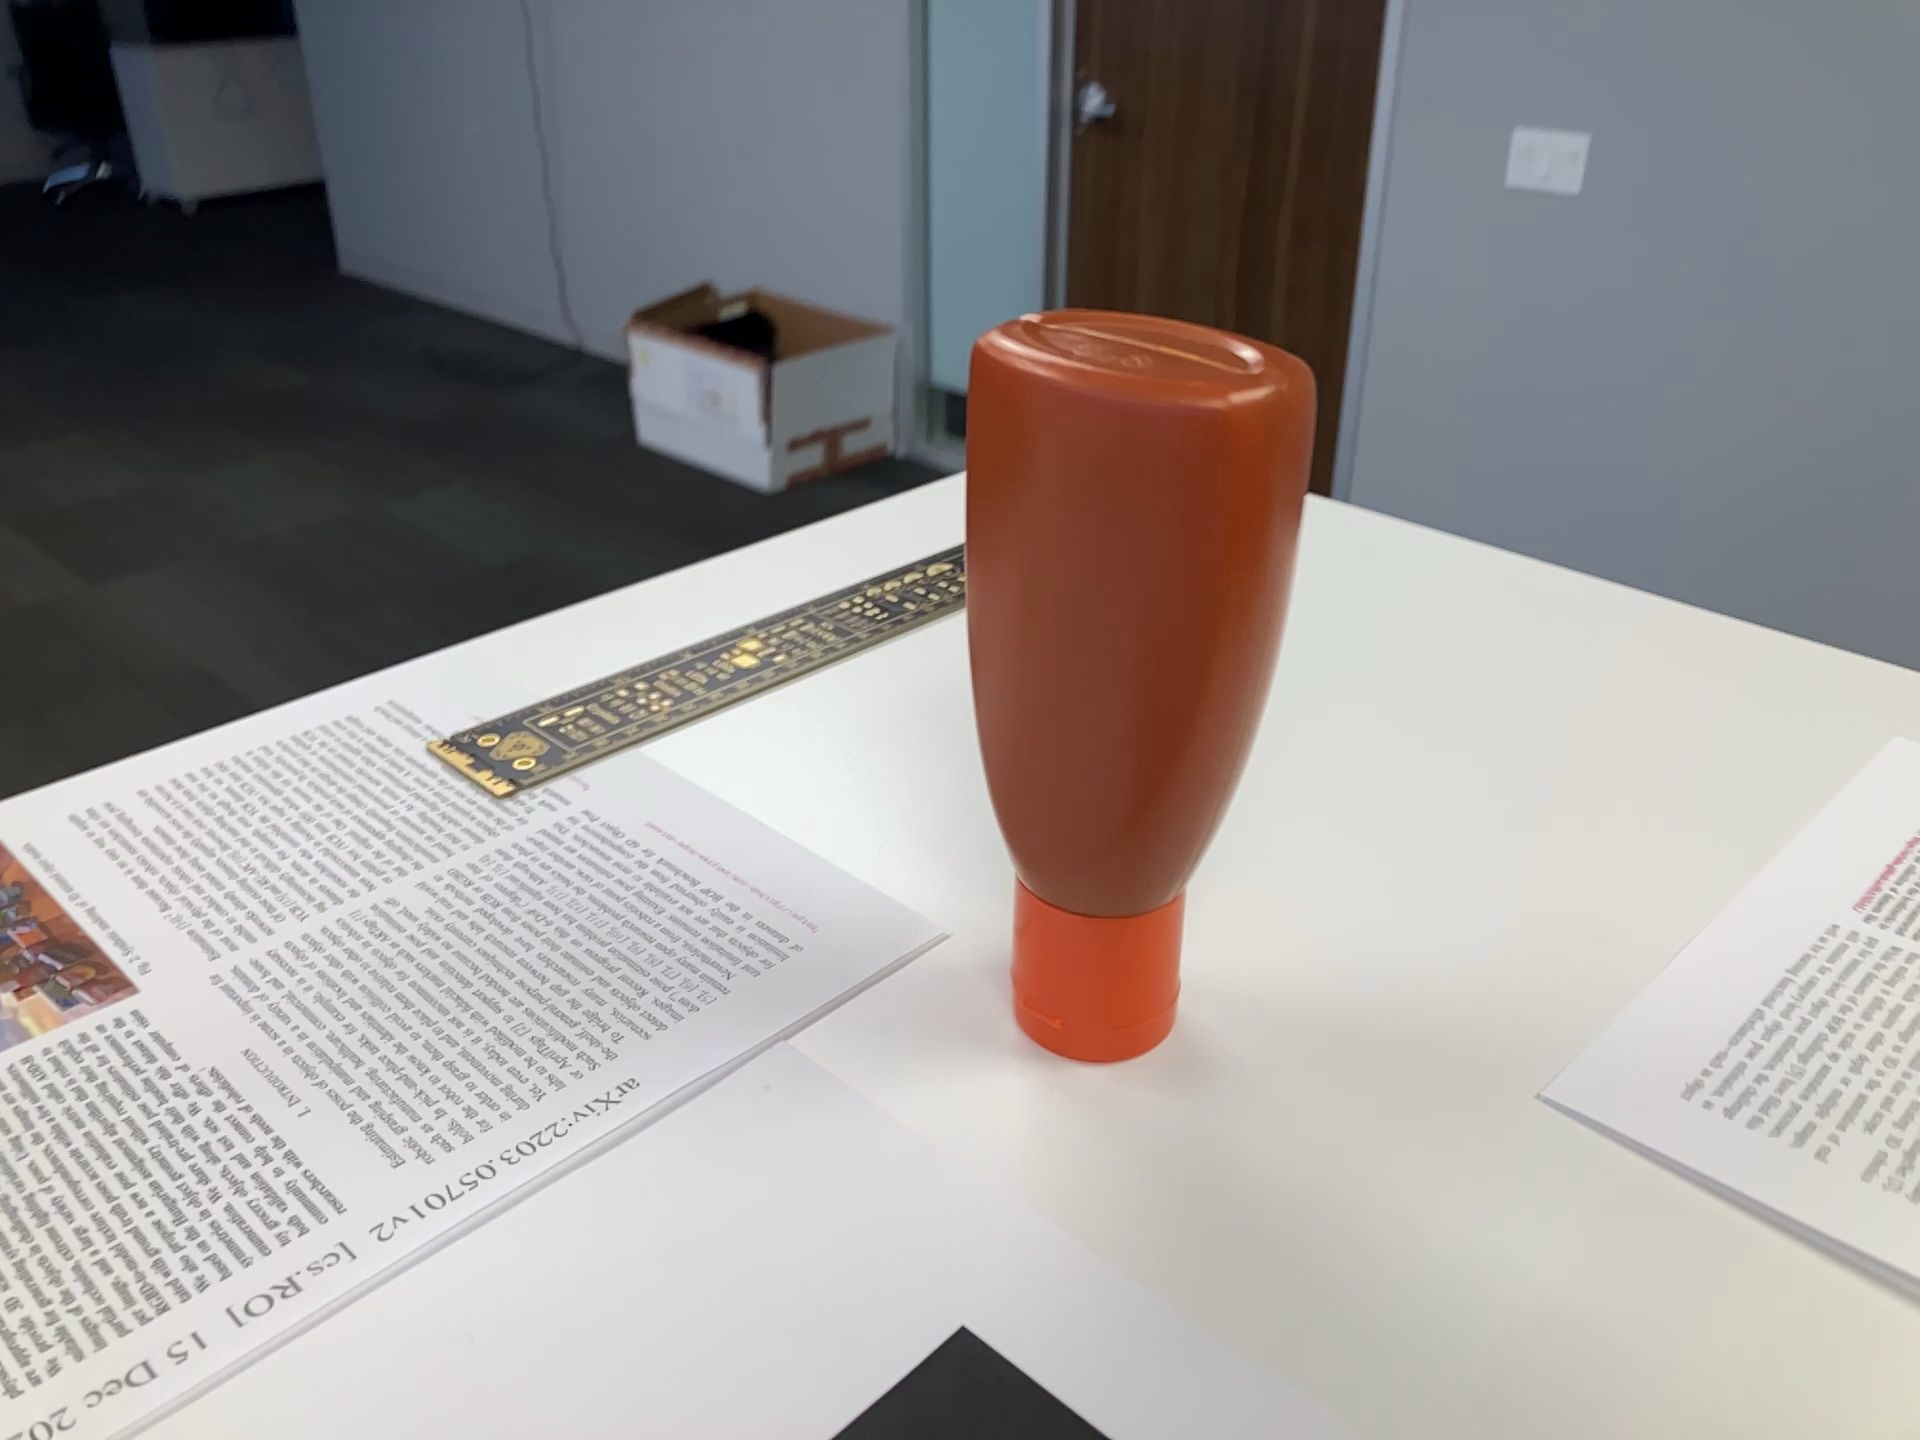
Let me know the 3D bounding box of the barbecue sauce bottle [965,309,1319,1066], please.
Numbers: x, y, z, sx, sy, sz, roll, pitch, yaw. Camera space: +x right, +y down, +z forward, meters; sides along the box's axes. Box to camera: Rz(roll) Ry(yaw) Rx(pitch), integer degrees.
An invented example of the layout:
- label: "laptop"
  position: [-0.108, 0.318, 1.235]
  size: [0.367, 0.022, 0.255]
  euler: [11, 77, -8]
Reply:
- label: "barbecue sauce bottle"
  position: [0.030, -0.001, 0.312]
  size: [0.065, 0.148, 0.043]
  euler: [23, 35, 36]
